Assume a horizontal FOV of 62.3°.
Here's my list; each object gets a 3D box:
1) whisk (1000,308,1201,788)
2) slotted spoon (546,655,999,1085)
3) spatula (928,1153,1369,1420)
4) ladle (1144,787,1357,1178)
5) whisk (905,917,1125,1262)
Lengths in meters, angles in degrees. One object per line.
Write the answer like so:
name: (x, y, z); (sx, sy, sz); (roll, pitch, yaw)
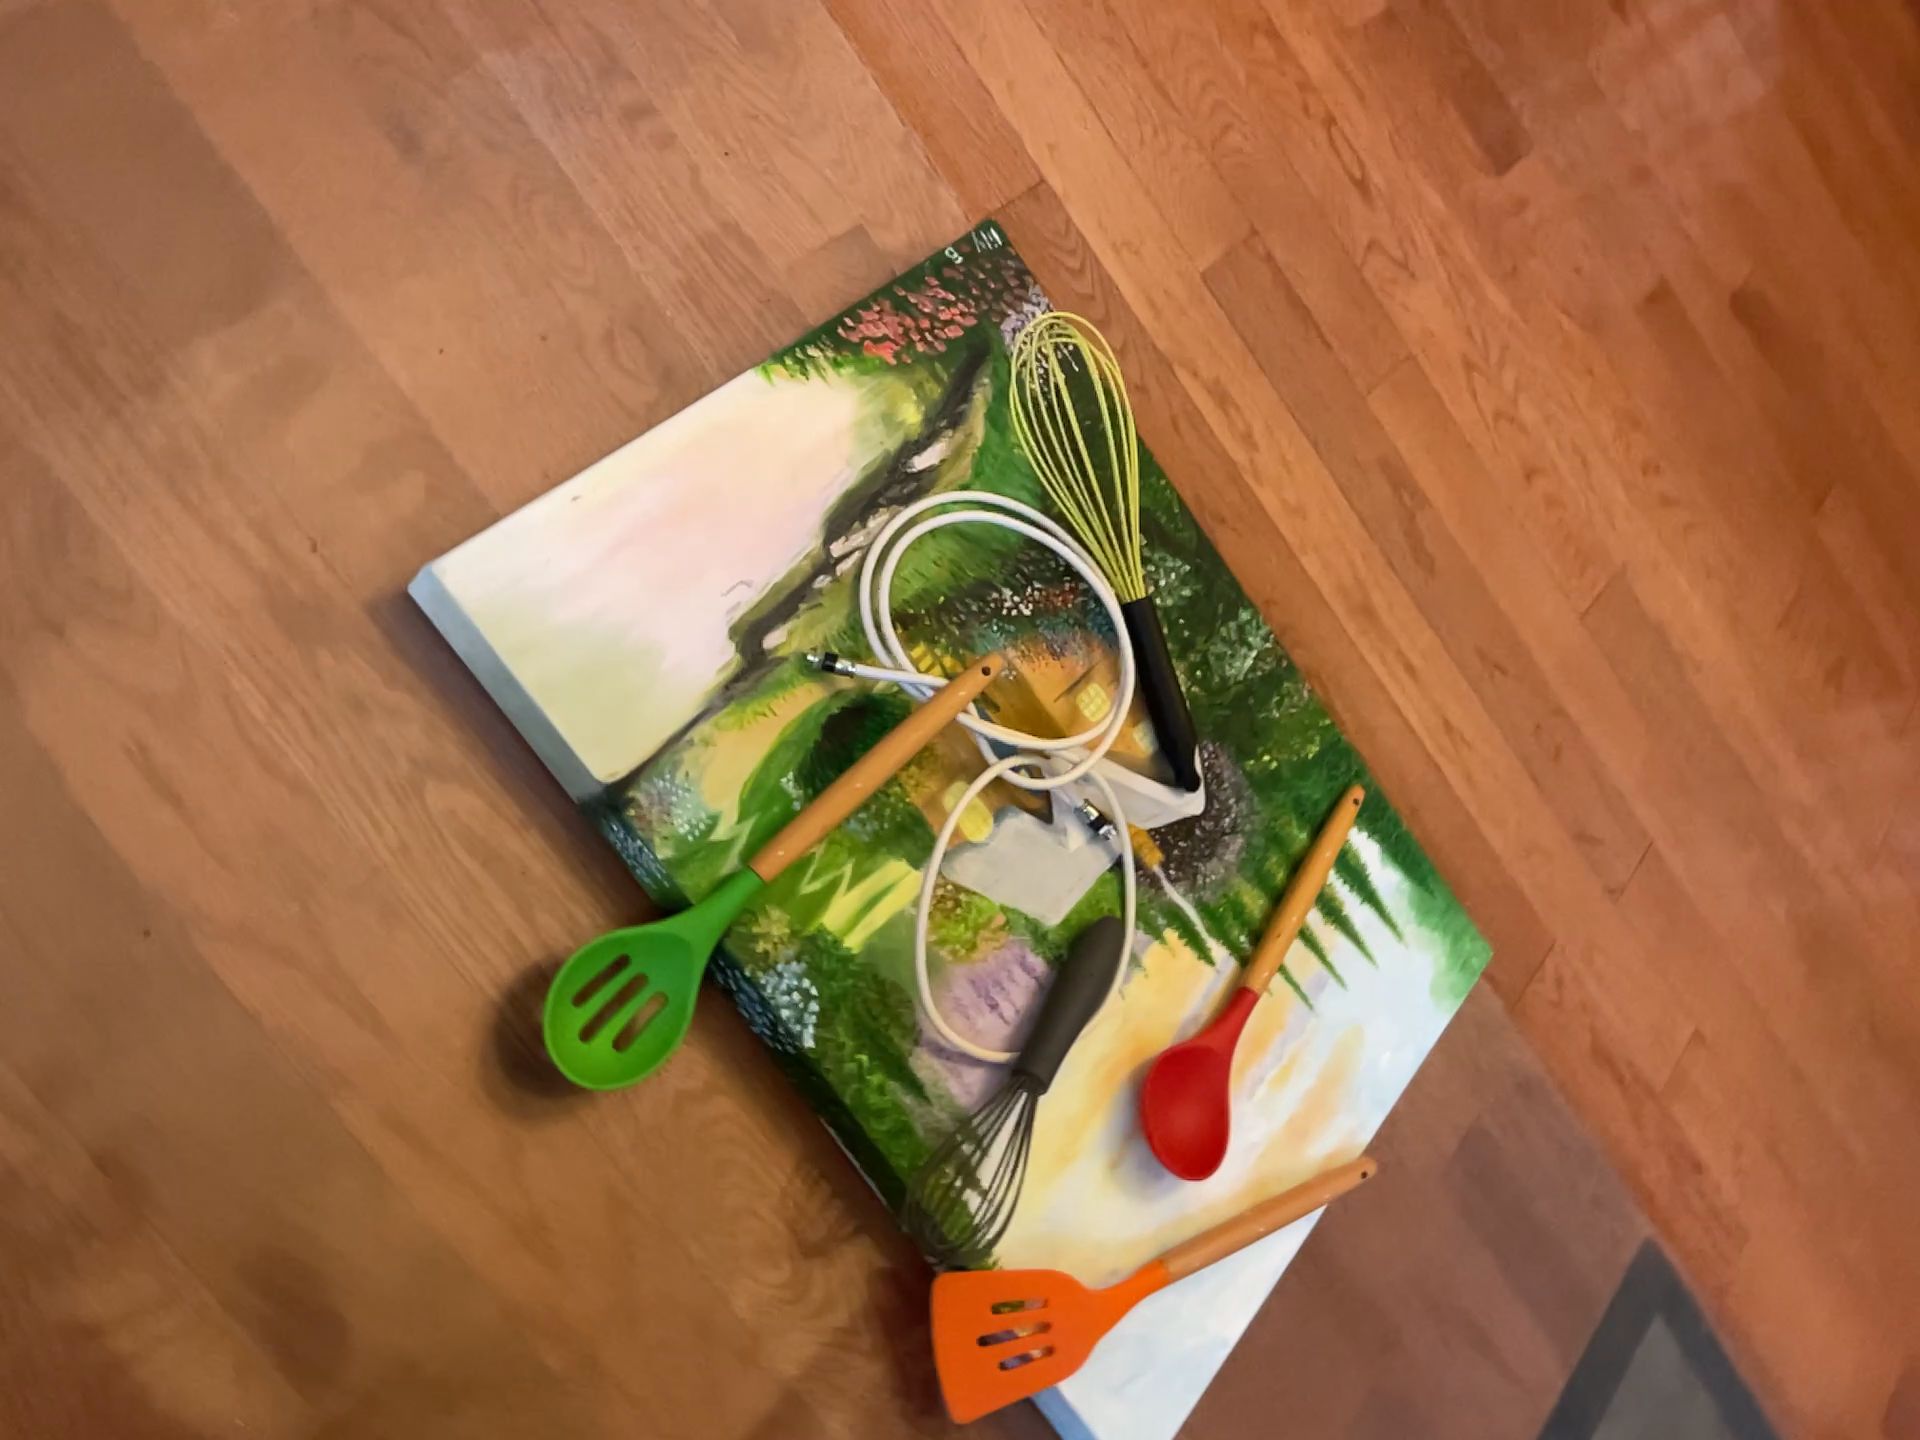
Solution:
whisk: (0.097, -0.105, 0.995); (0.080, 0.067, 0.311); (-20, 93, -31)
slotted spoon: (-0.087, 0.066, 0.823); (0.314, 0.031, 0.070); (-43, 101, -23)
spatula: (0.123, 0.304, 0.912); (0.322, 0.041, 0.081); (-11, 93, -37)
ladle: (0.189, 0.151, 0.992); (0.069, 0.031, 0.316); (48, 53, -14)
whisk: (0.038, 0.194, 0.866); (0.055, 0.055, 0.239); (54, 48, -21)
